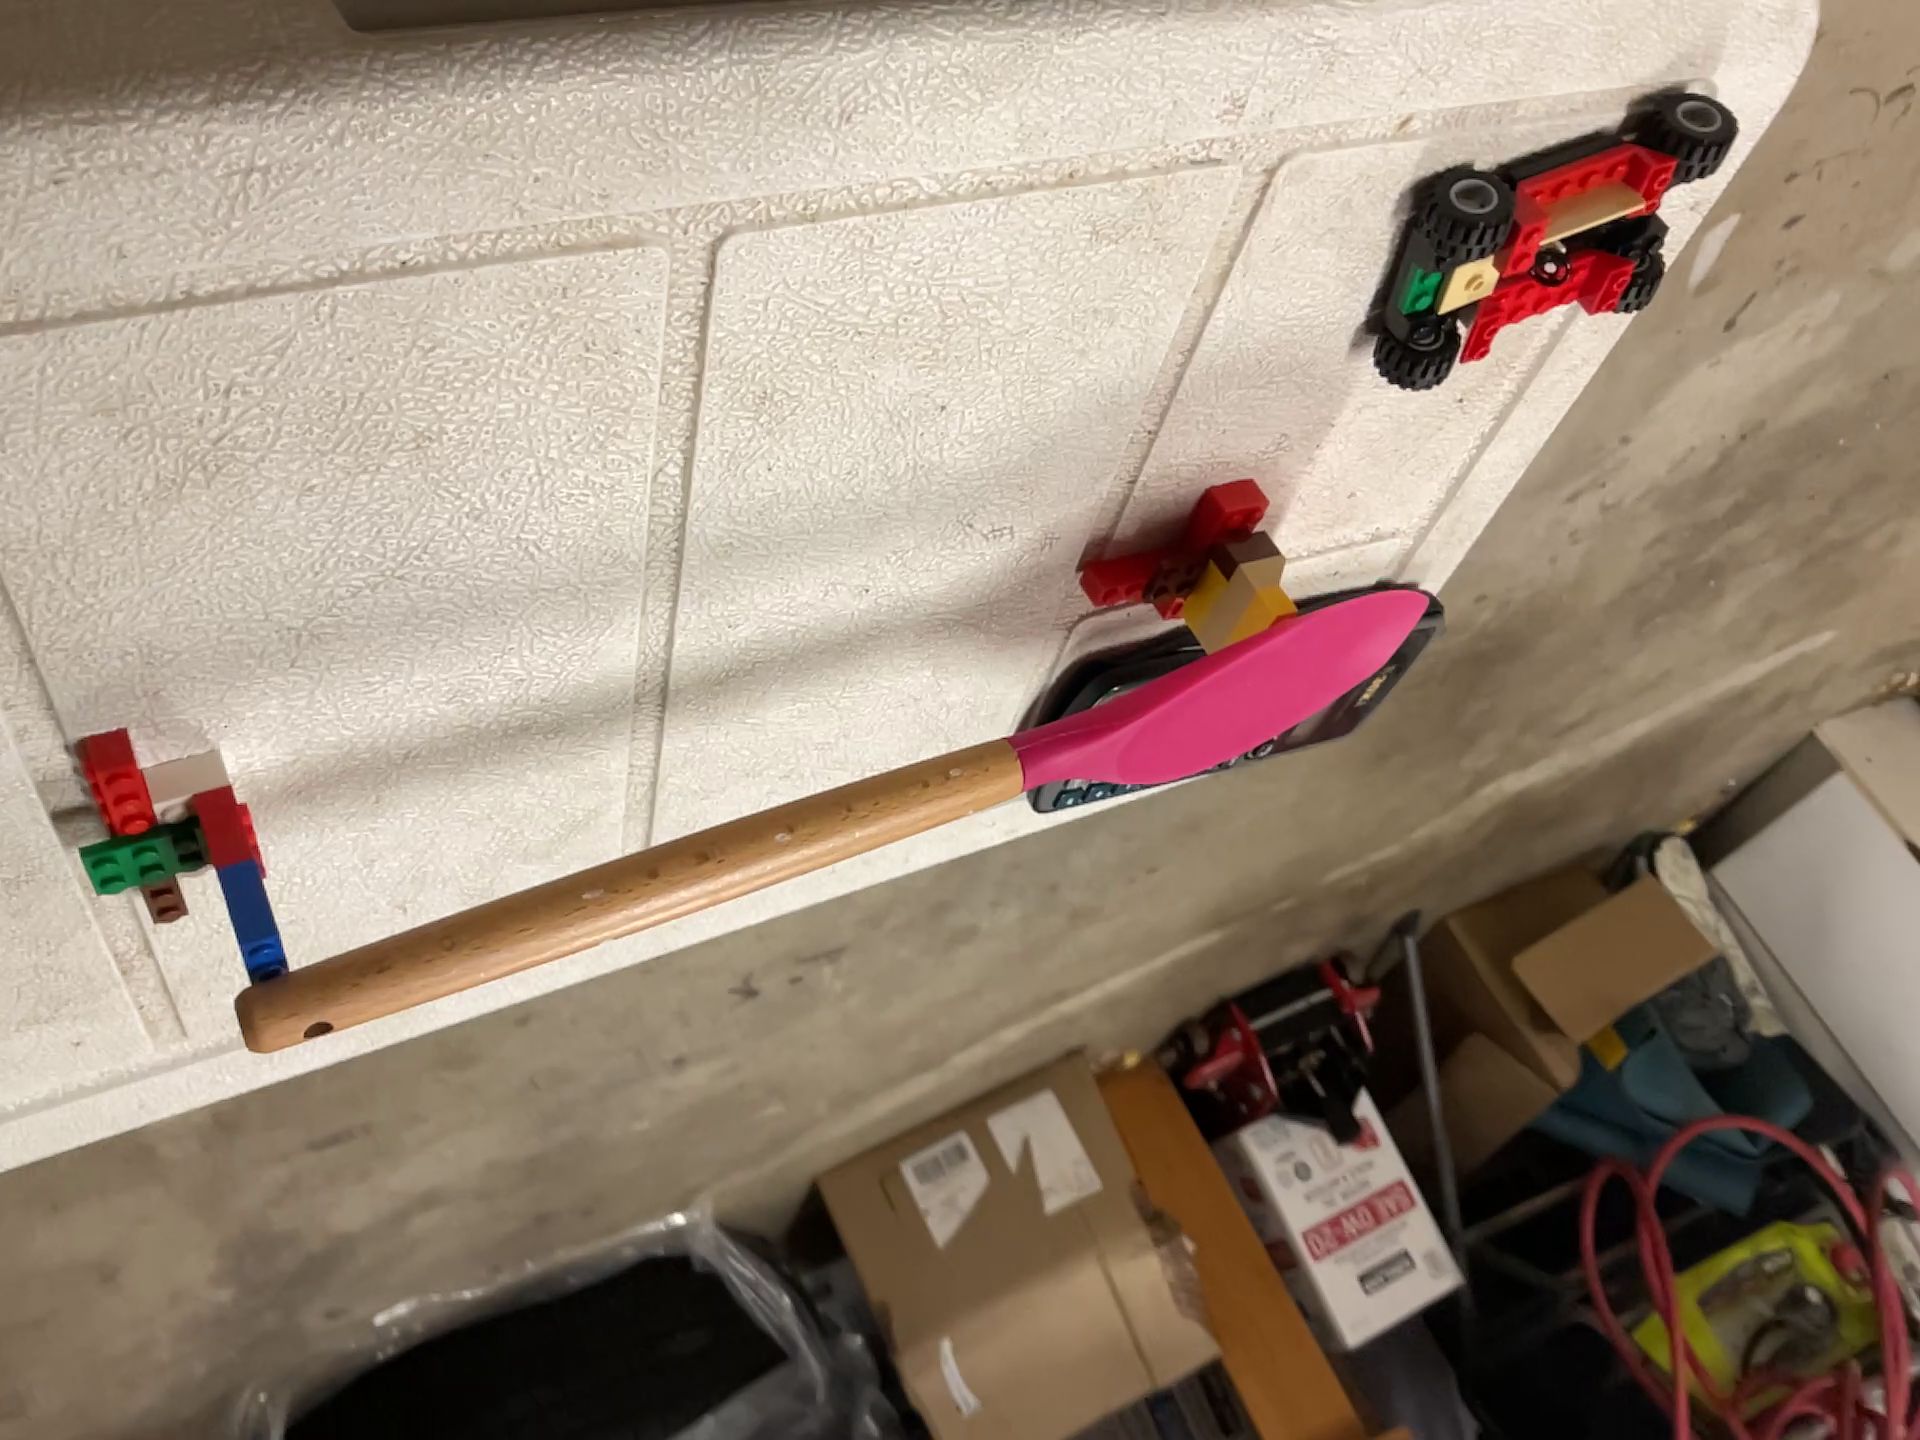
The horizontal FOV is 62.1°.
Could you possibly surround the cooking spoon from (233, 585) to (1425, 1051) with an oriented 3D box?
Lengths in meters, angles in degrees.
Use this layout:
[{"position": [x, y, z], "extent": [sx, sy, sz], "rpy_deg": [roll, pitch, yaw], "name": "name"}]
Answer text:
[{"position": [-0.011, 0.018, 0.394], "extent": [0.319, 0.017, 0.068], "rpy_deg": [-18, 151, -25], "name": "cooking spoon"}]
